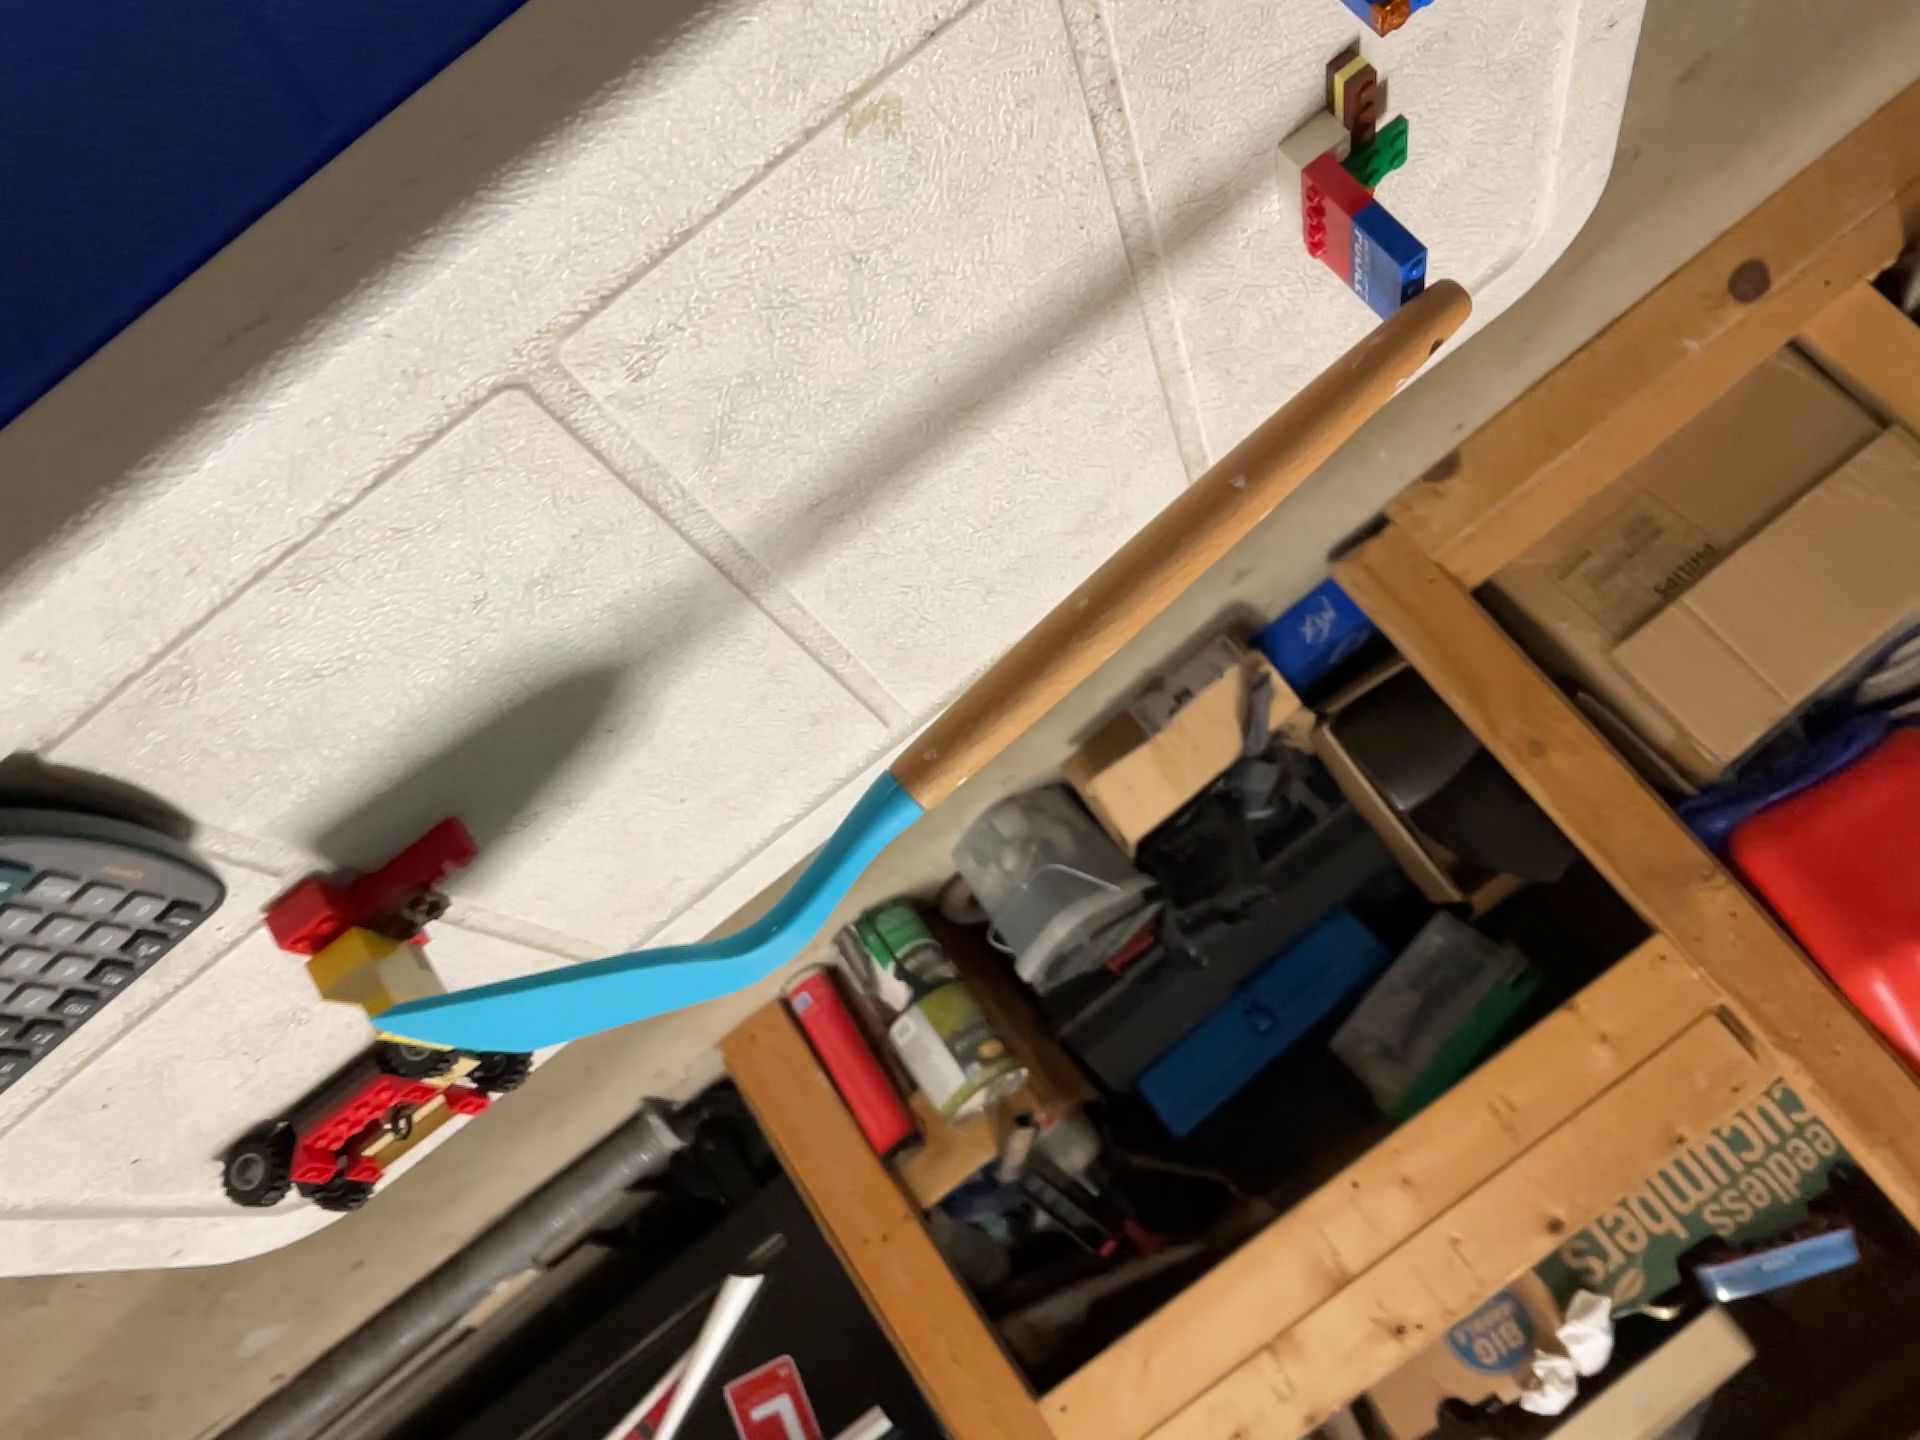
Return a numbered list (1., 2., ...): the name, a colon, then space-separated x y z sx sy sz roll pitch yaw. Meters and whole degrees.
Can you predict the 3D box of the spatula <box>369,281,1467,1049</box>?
1. spatula: -0.001 -0.008 0.404 0.317 0.044 0.082 -41 158 0
